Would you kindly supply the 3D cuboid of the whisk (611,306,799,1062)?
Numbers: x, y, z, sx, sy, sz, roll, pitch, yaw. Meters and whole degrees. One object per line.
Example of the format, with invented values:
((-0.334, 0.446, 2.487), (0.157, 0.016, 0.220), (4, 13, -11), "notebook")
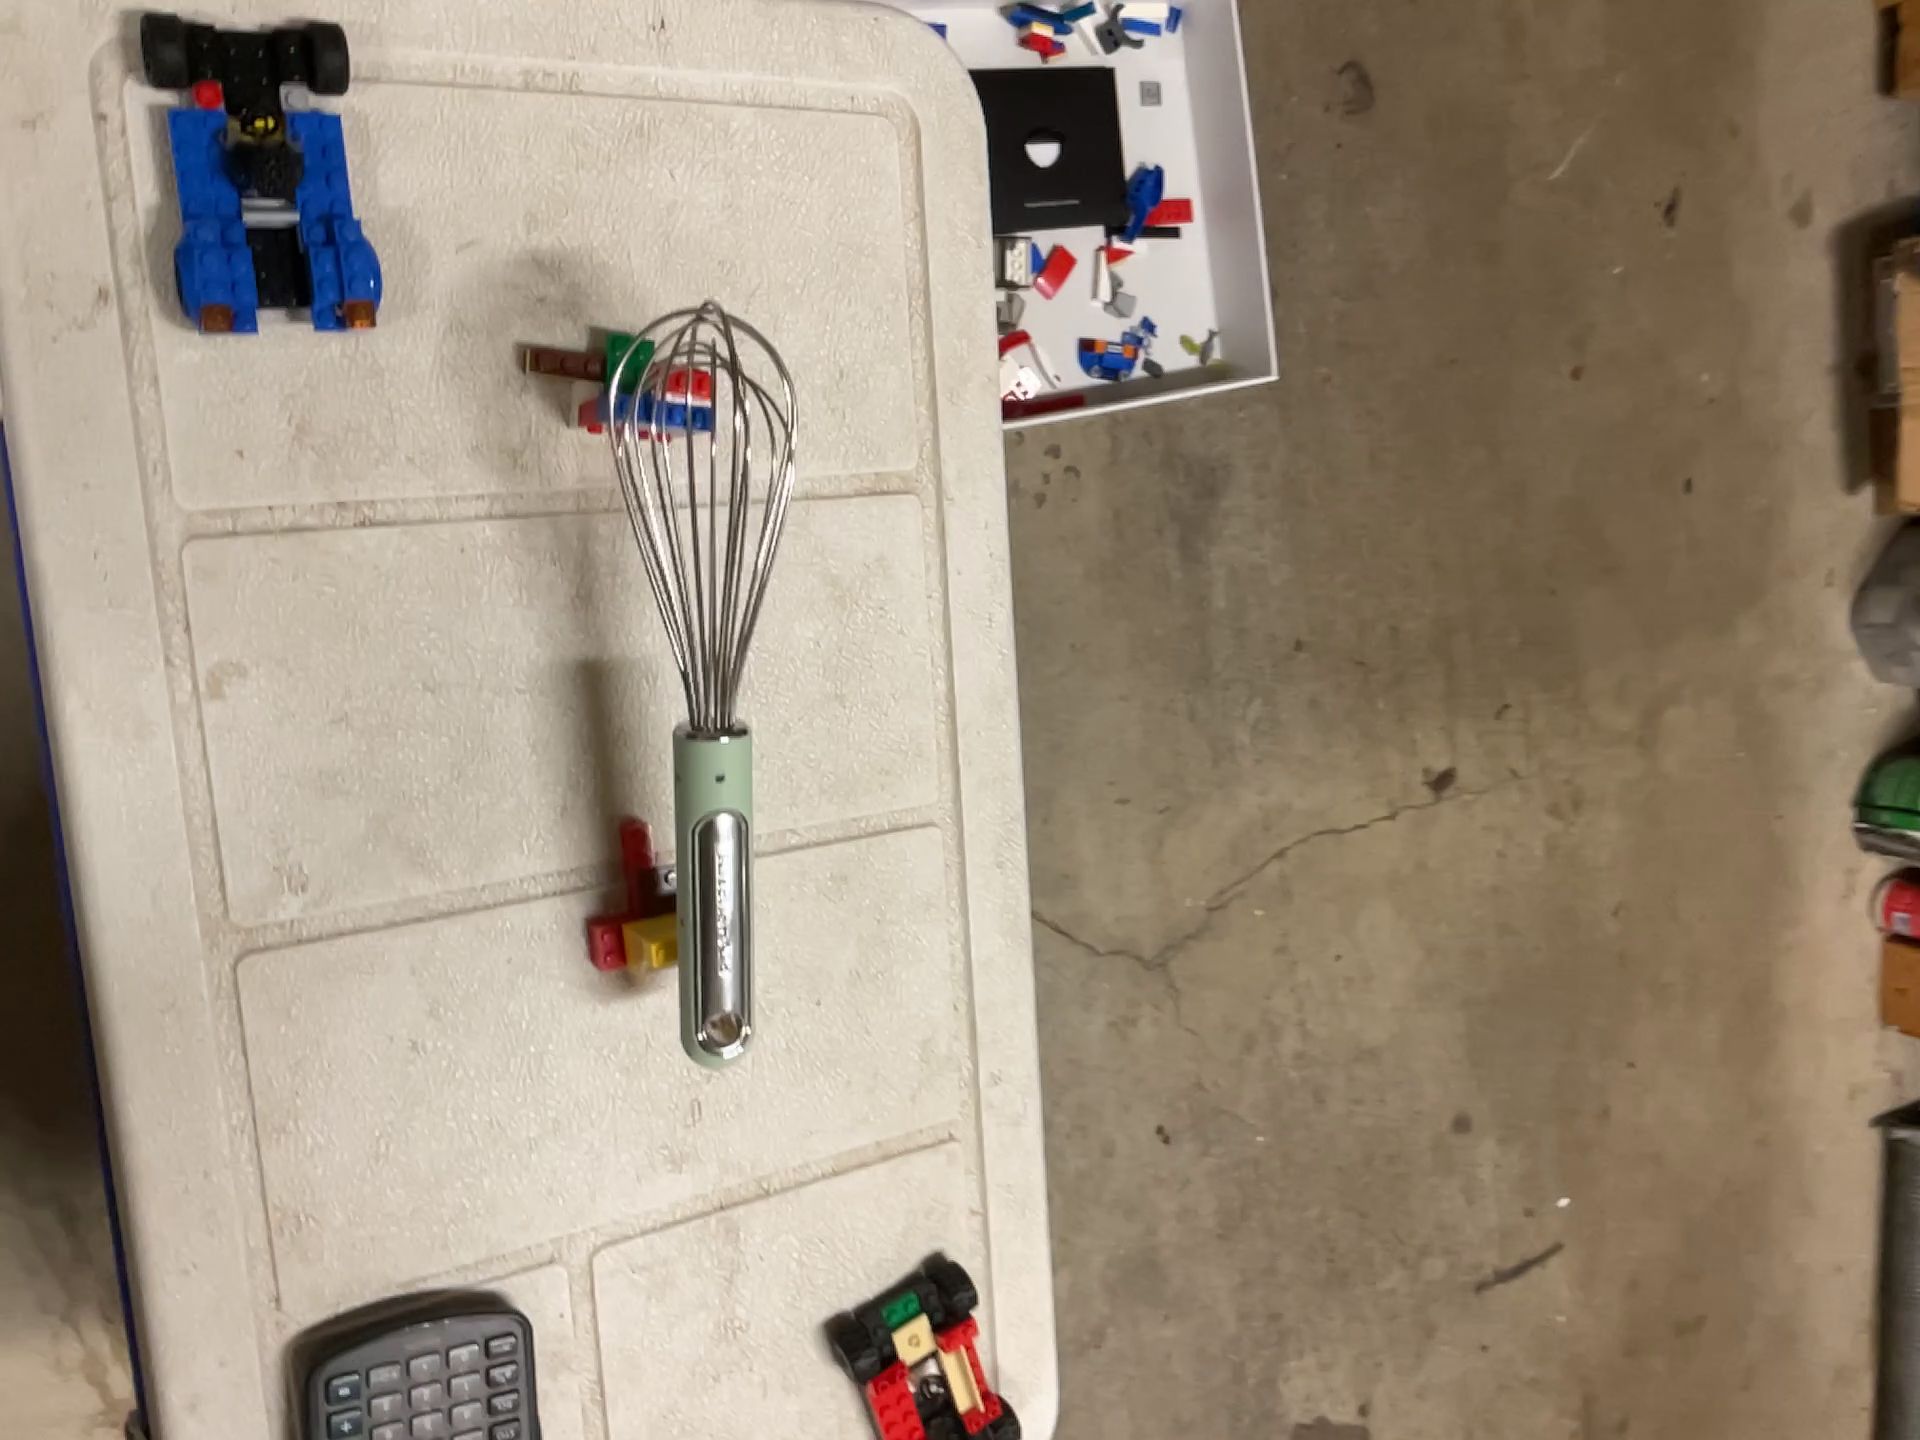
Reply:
((-0.079, -0.005, 0.511), (0.058, 0.059, 0.246), (-5, 105, -23), "whisk")
